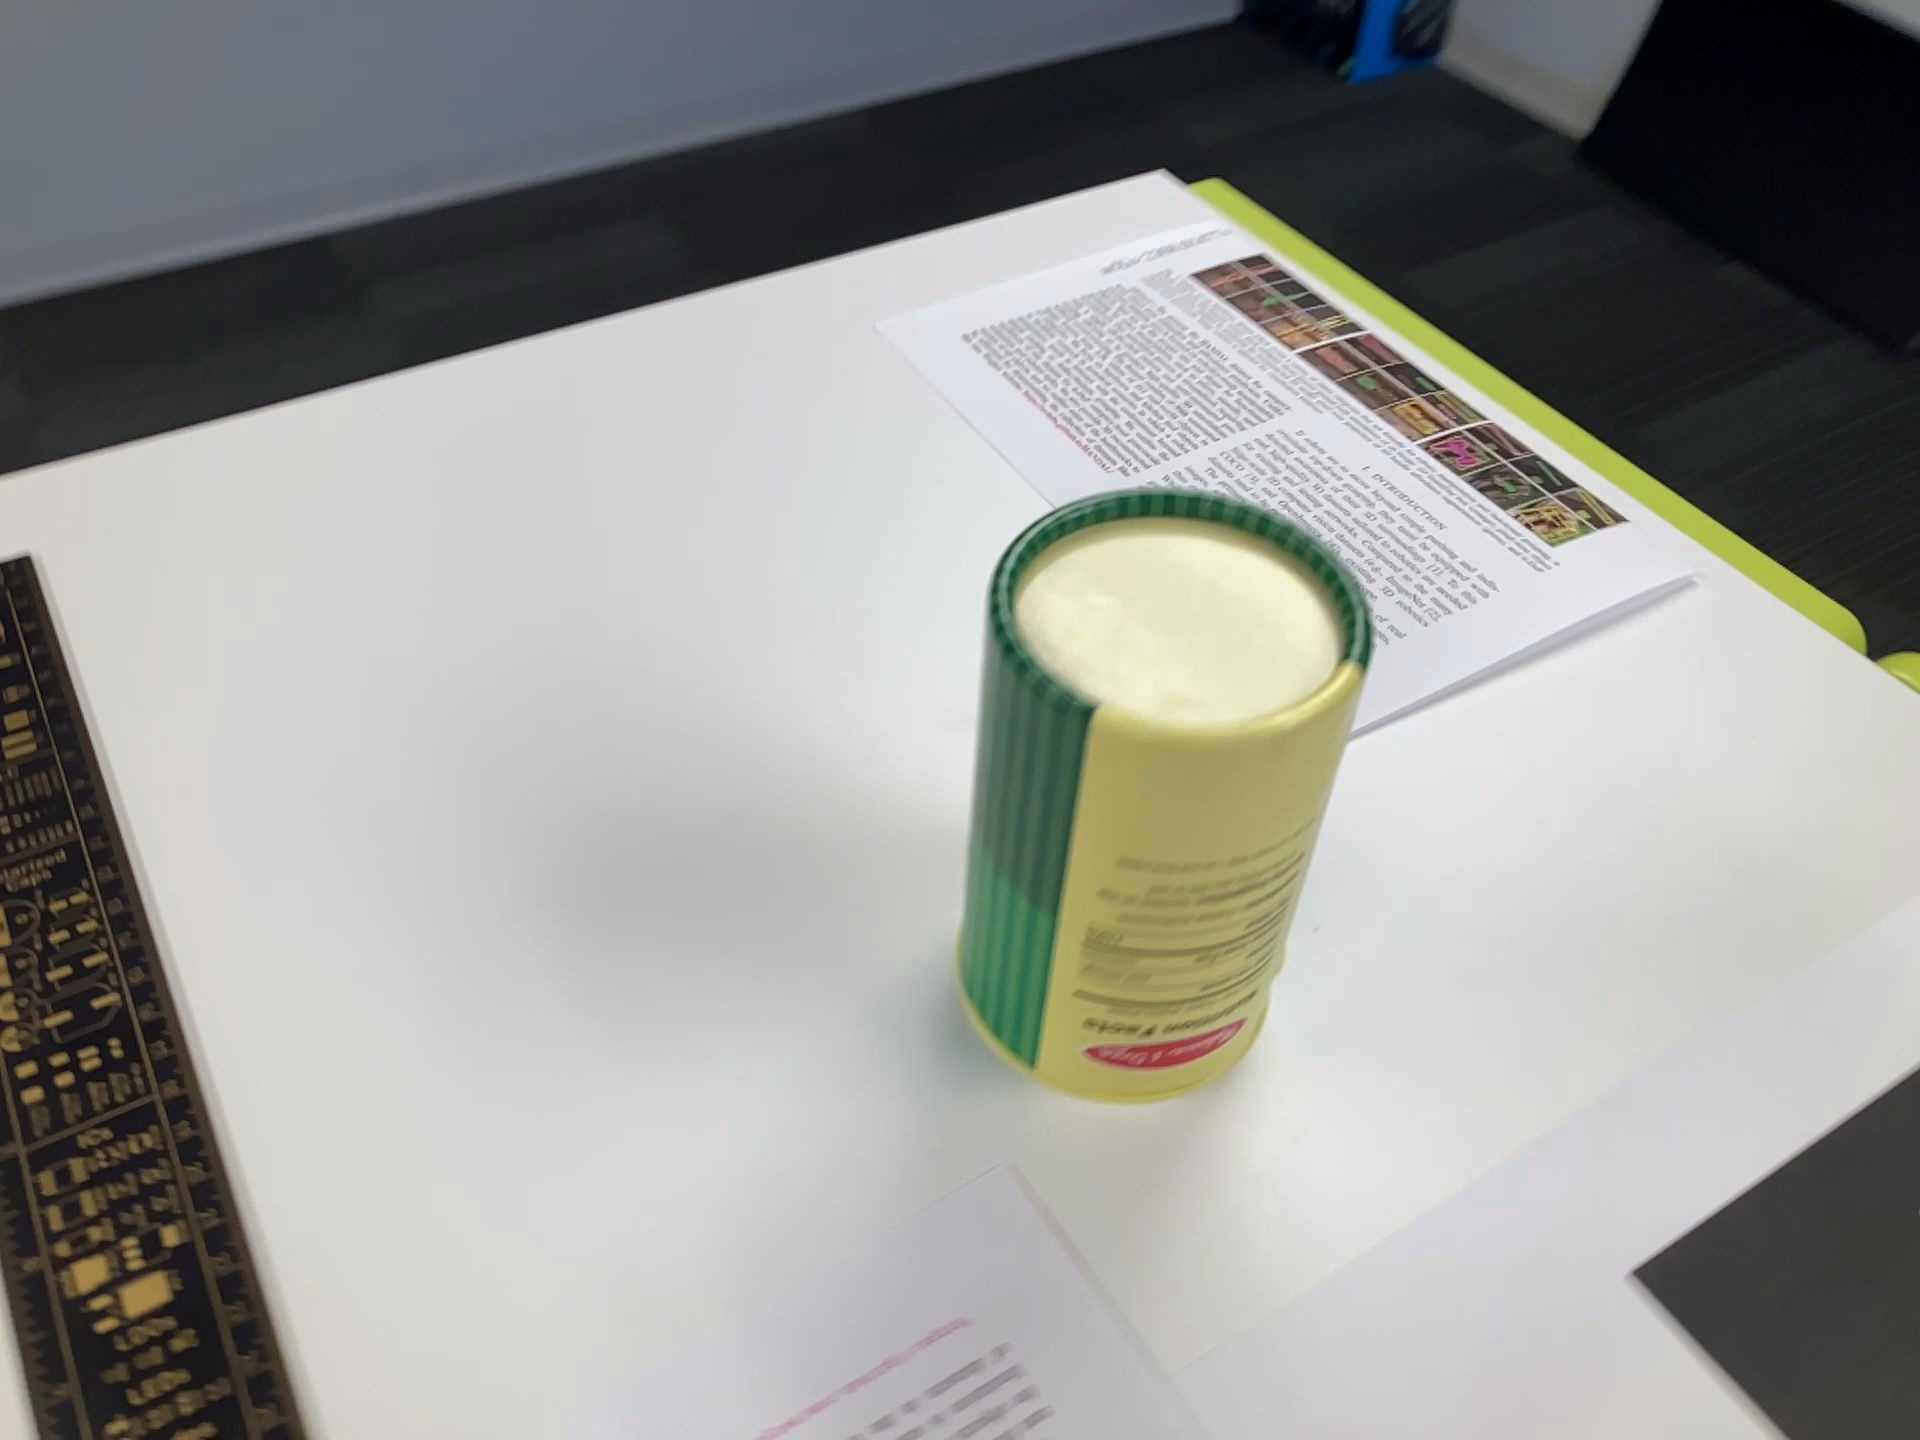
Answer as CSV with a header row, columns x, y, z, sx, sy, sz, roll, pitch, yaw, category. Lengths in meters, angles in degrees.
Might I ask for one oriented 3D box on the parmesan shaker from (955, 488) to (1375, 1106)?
x,y,z,sx,sy,sz,roll,pitch,yaw,category
0.037,0.015,0.299,0.071,0.103,0.071,2,45,-2,parmesan shaker
